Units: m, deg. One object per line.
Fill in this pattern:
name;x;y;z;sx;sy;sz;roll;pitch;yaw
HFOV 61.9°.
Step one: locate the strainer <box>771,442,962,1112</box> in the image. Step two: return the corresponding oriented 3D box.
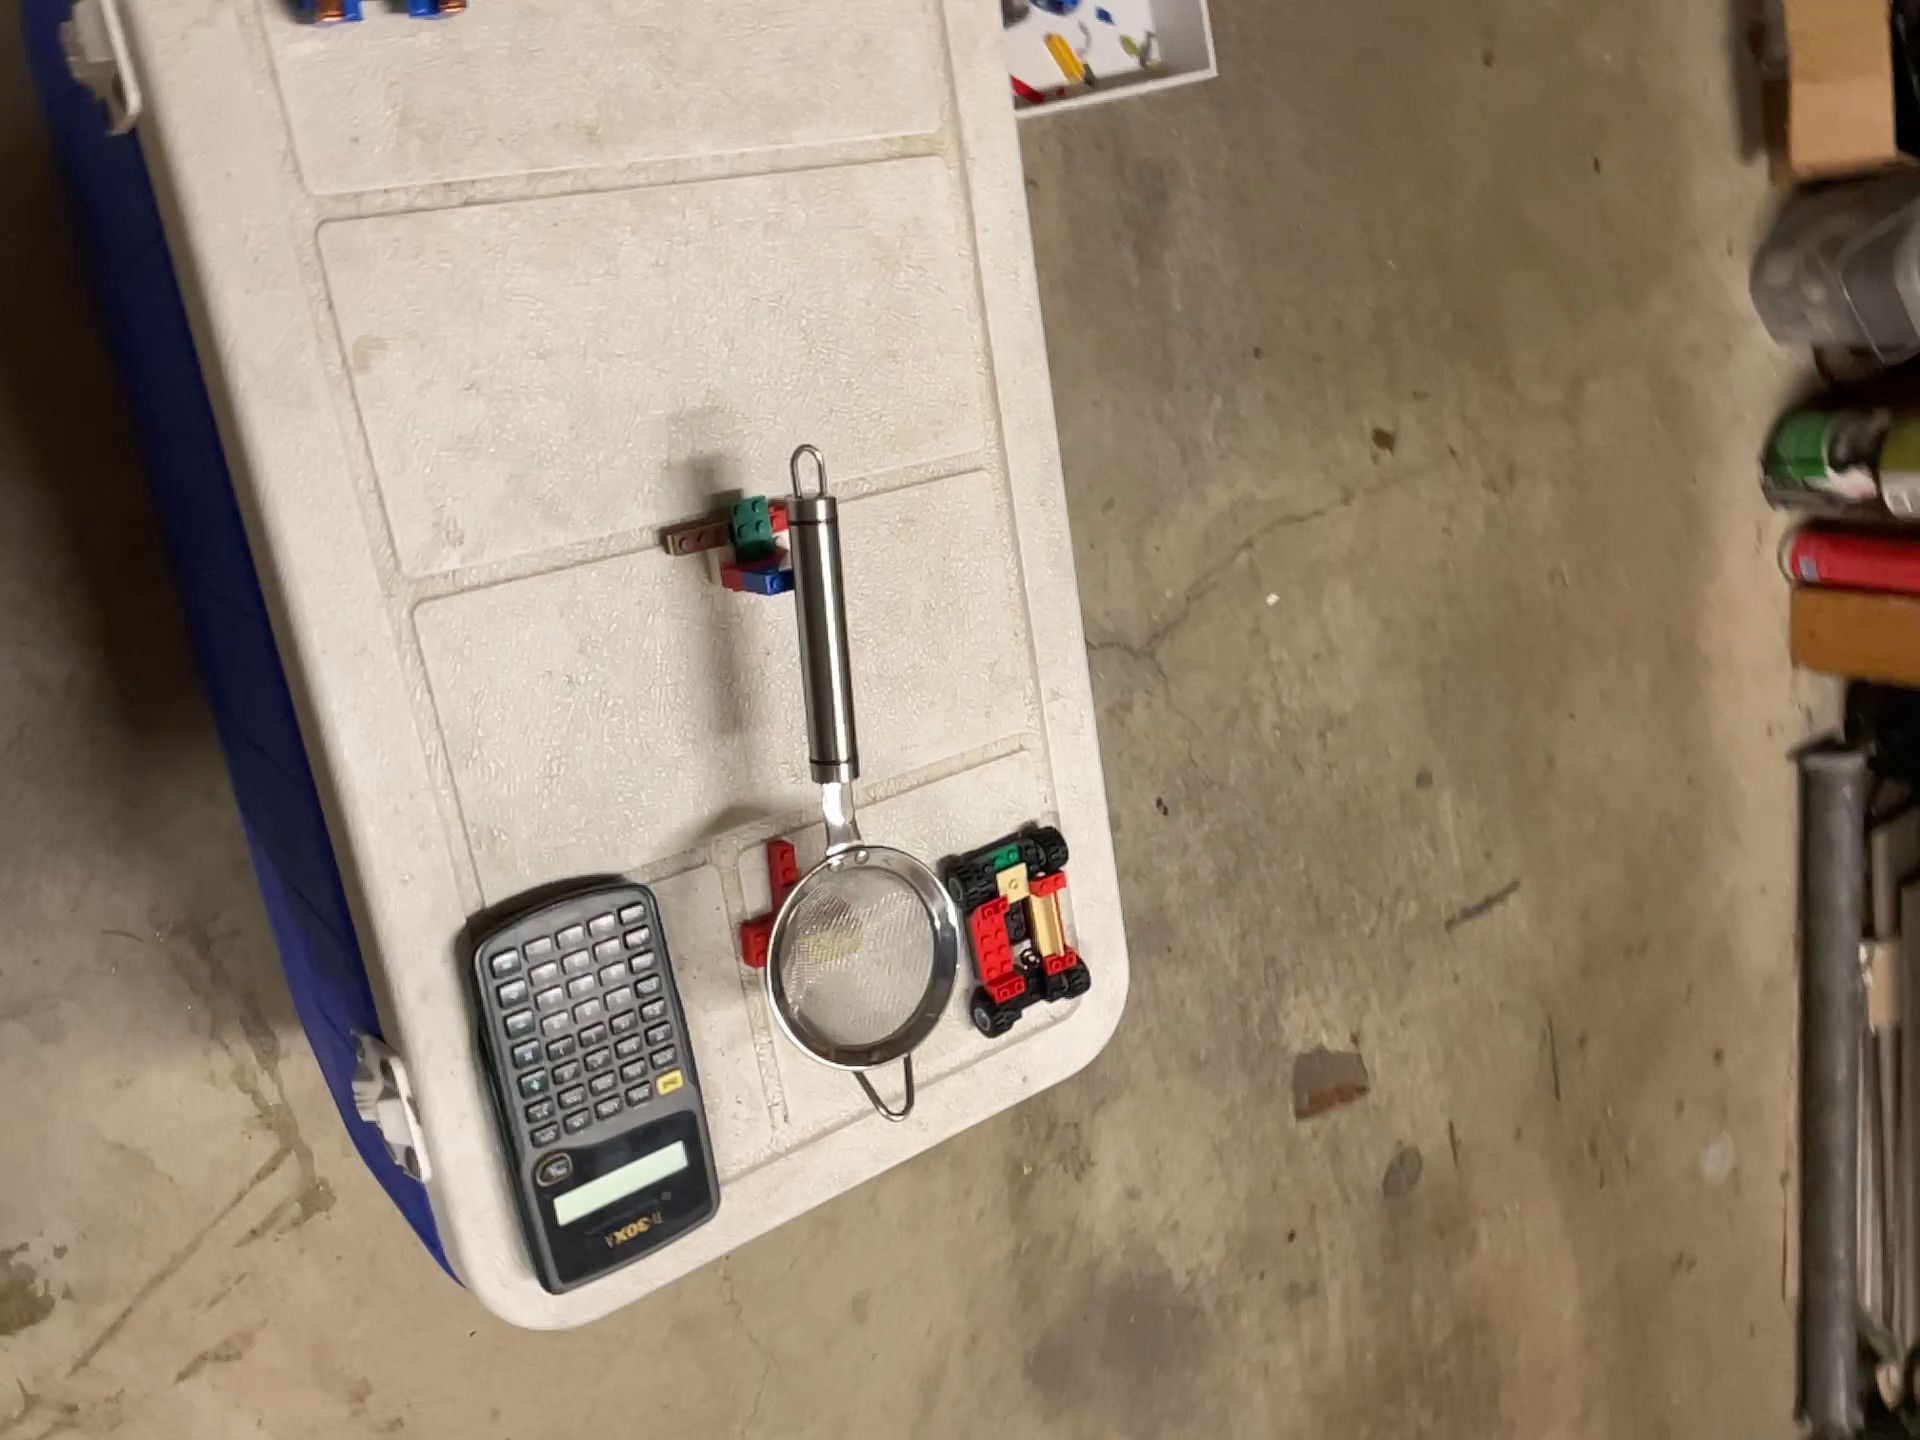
strainer;-0.046;0.023;0.615;0.087;0.050;0.258;-14;105;-34
